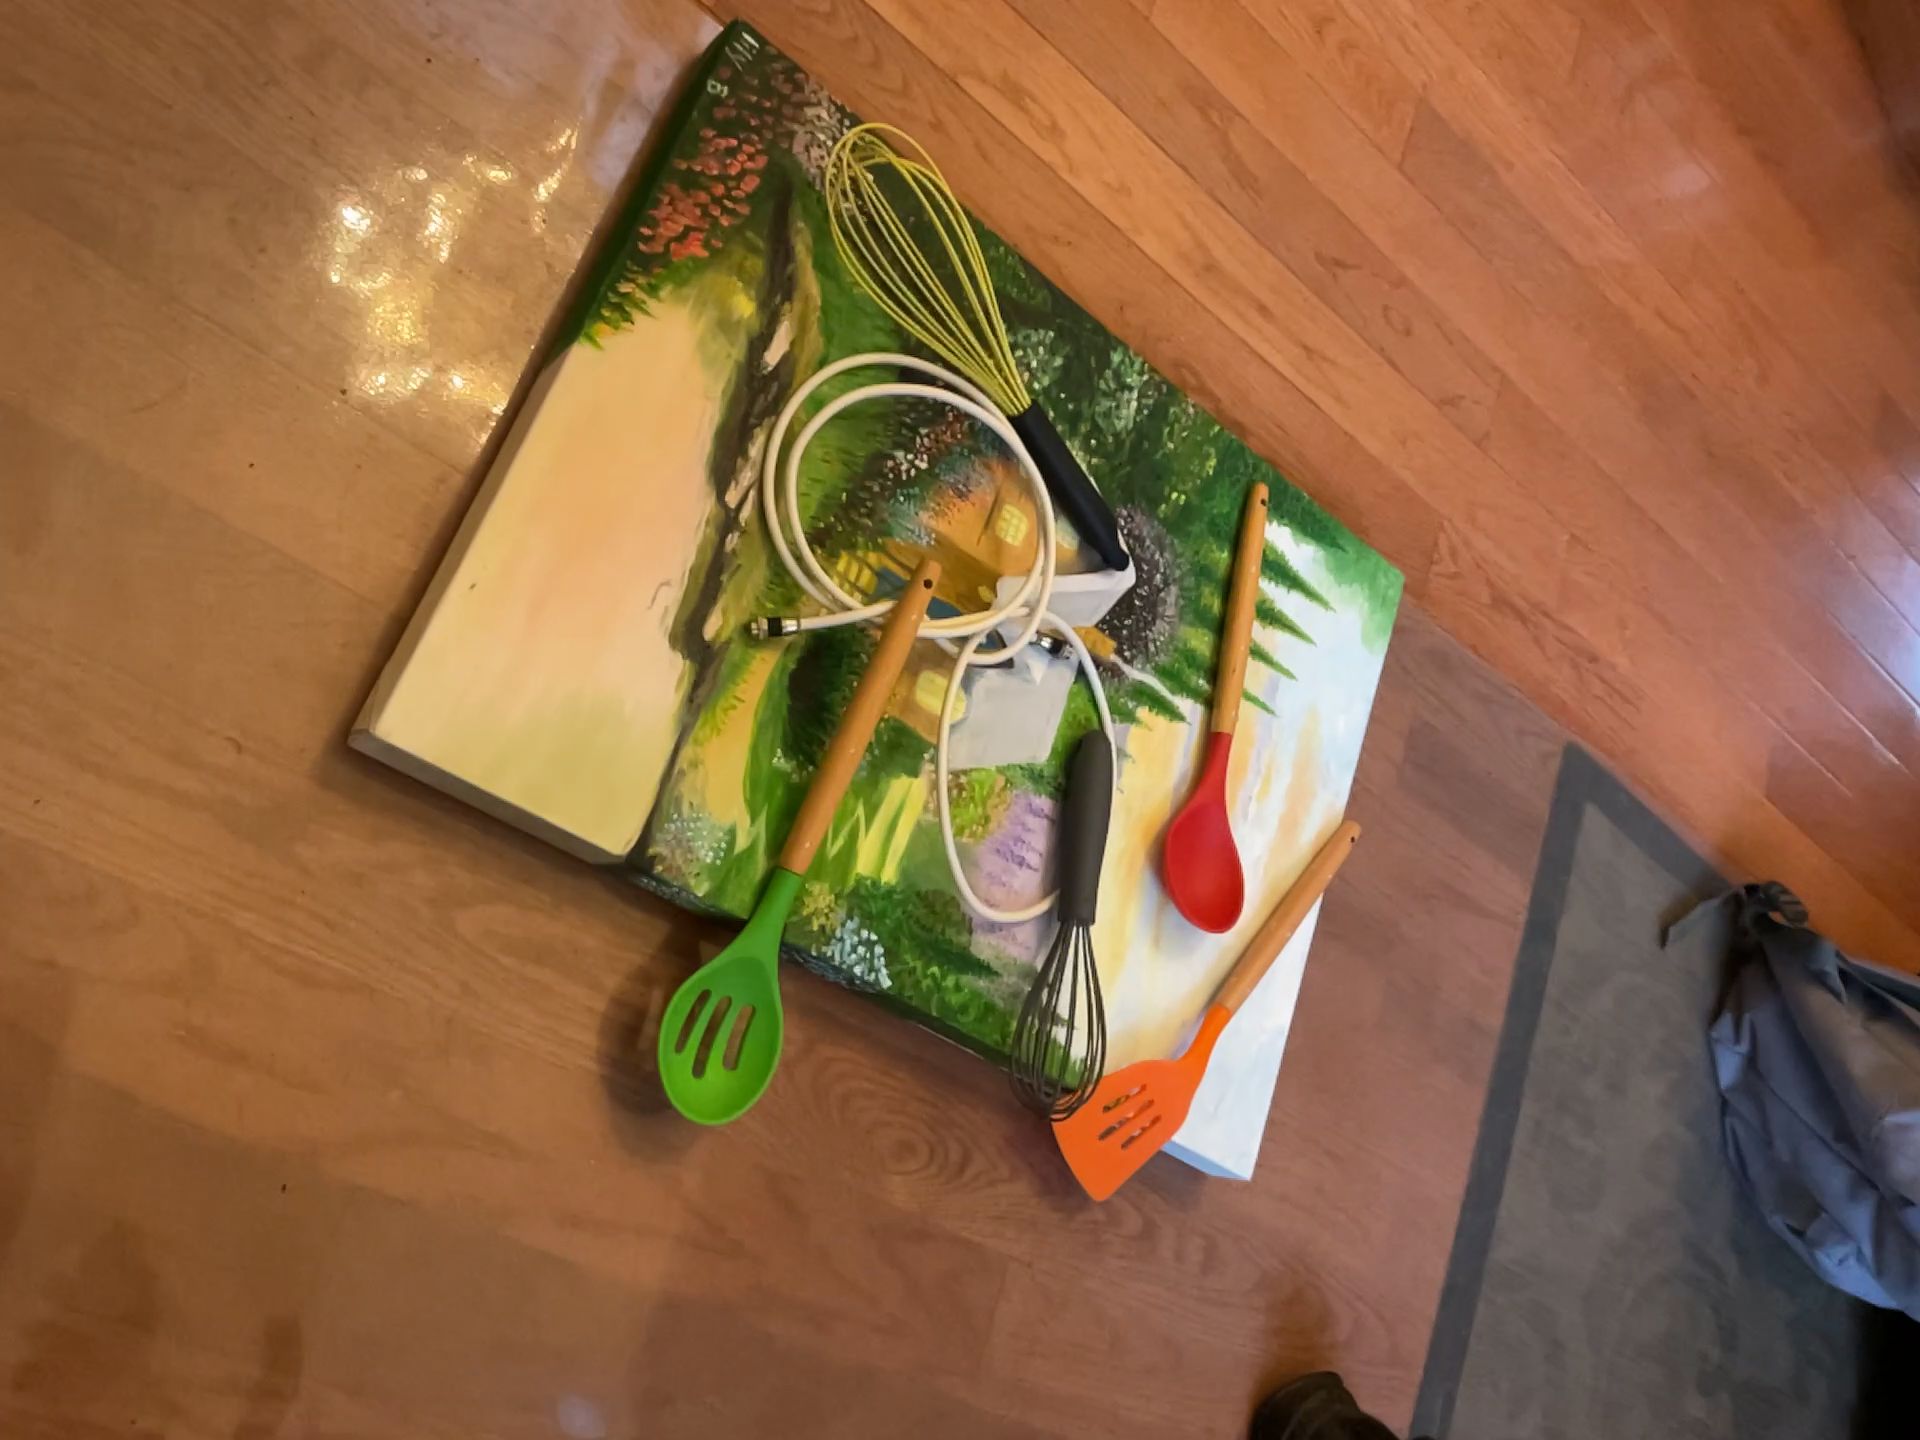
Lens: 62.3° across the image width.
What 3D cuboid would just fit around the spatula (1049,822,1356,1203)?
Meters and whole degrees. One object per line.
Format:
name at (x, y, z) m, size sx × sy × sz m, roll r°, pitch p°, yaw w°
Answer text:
spatula at (0.171, 0.170, 1.023) m, size 0.323 × 0.041 × 0.081 m, roll -45°, pitch 120°, yaw -34°

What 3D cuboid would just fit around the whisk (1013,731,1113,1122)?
whisk at (0.068, 0.116, 0.933) m, size 0.055 × 0.055 × 0.239 m, roll 29°, pitch 60°, yaw -41°

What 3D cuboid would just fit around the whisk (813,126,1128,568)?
whisk at (0.016, -0.210, 0.947) m, size 0.080 × 0.067 × 0.311 m, roll -50°, pitch 117°, yaw -25°

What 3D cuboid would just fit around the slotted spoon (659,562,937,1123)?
slotted spoon at (-0.078, 0.058, 0.838) m, size 0.070 × 0.031 × 0.314 m, roll 29°, pitch 78°, yaw -29°

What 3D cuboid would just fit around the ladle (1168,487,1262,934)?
ladle at (0.176, -0.013, 1.045) m, size 0.069 × 0.031 × 0.316 m, roll 24°, pitch 67°, yaw -32°
